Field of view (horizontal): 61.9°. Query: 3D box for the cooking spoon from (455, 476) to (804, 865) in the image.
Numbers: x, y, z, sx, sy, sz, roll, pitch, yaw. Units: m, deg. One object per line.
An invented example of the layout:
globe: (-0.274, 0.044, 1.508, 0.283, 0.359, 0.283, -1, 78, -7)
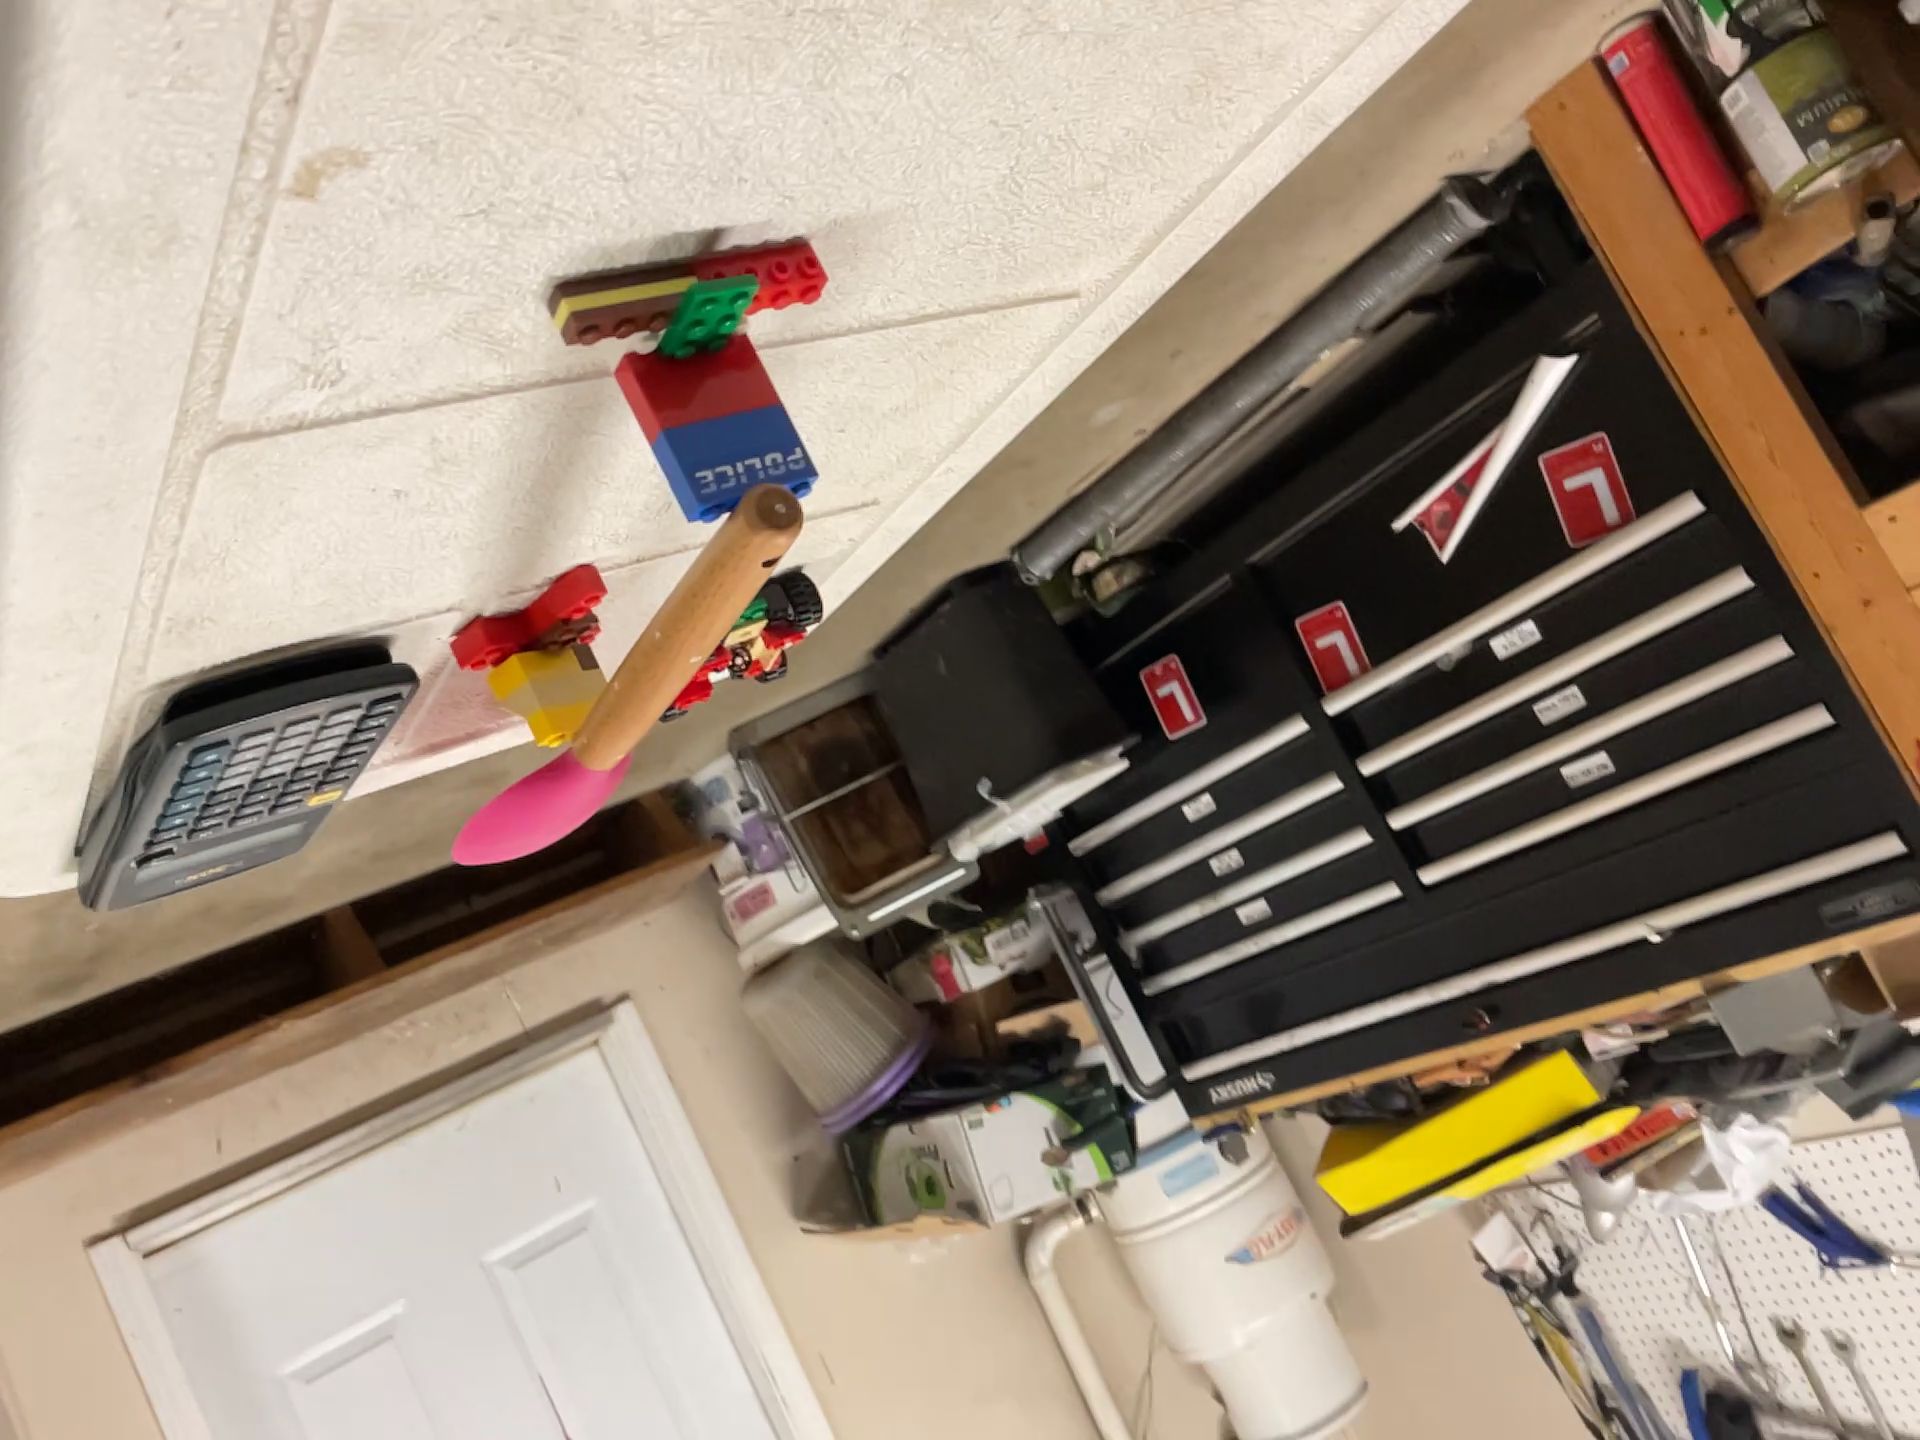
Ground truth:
cooking spoon: (-0.103, 0.001, 0.478, 0.069, 0.017, 0.318, -28, 175, -29)
